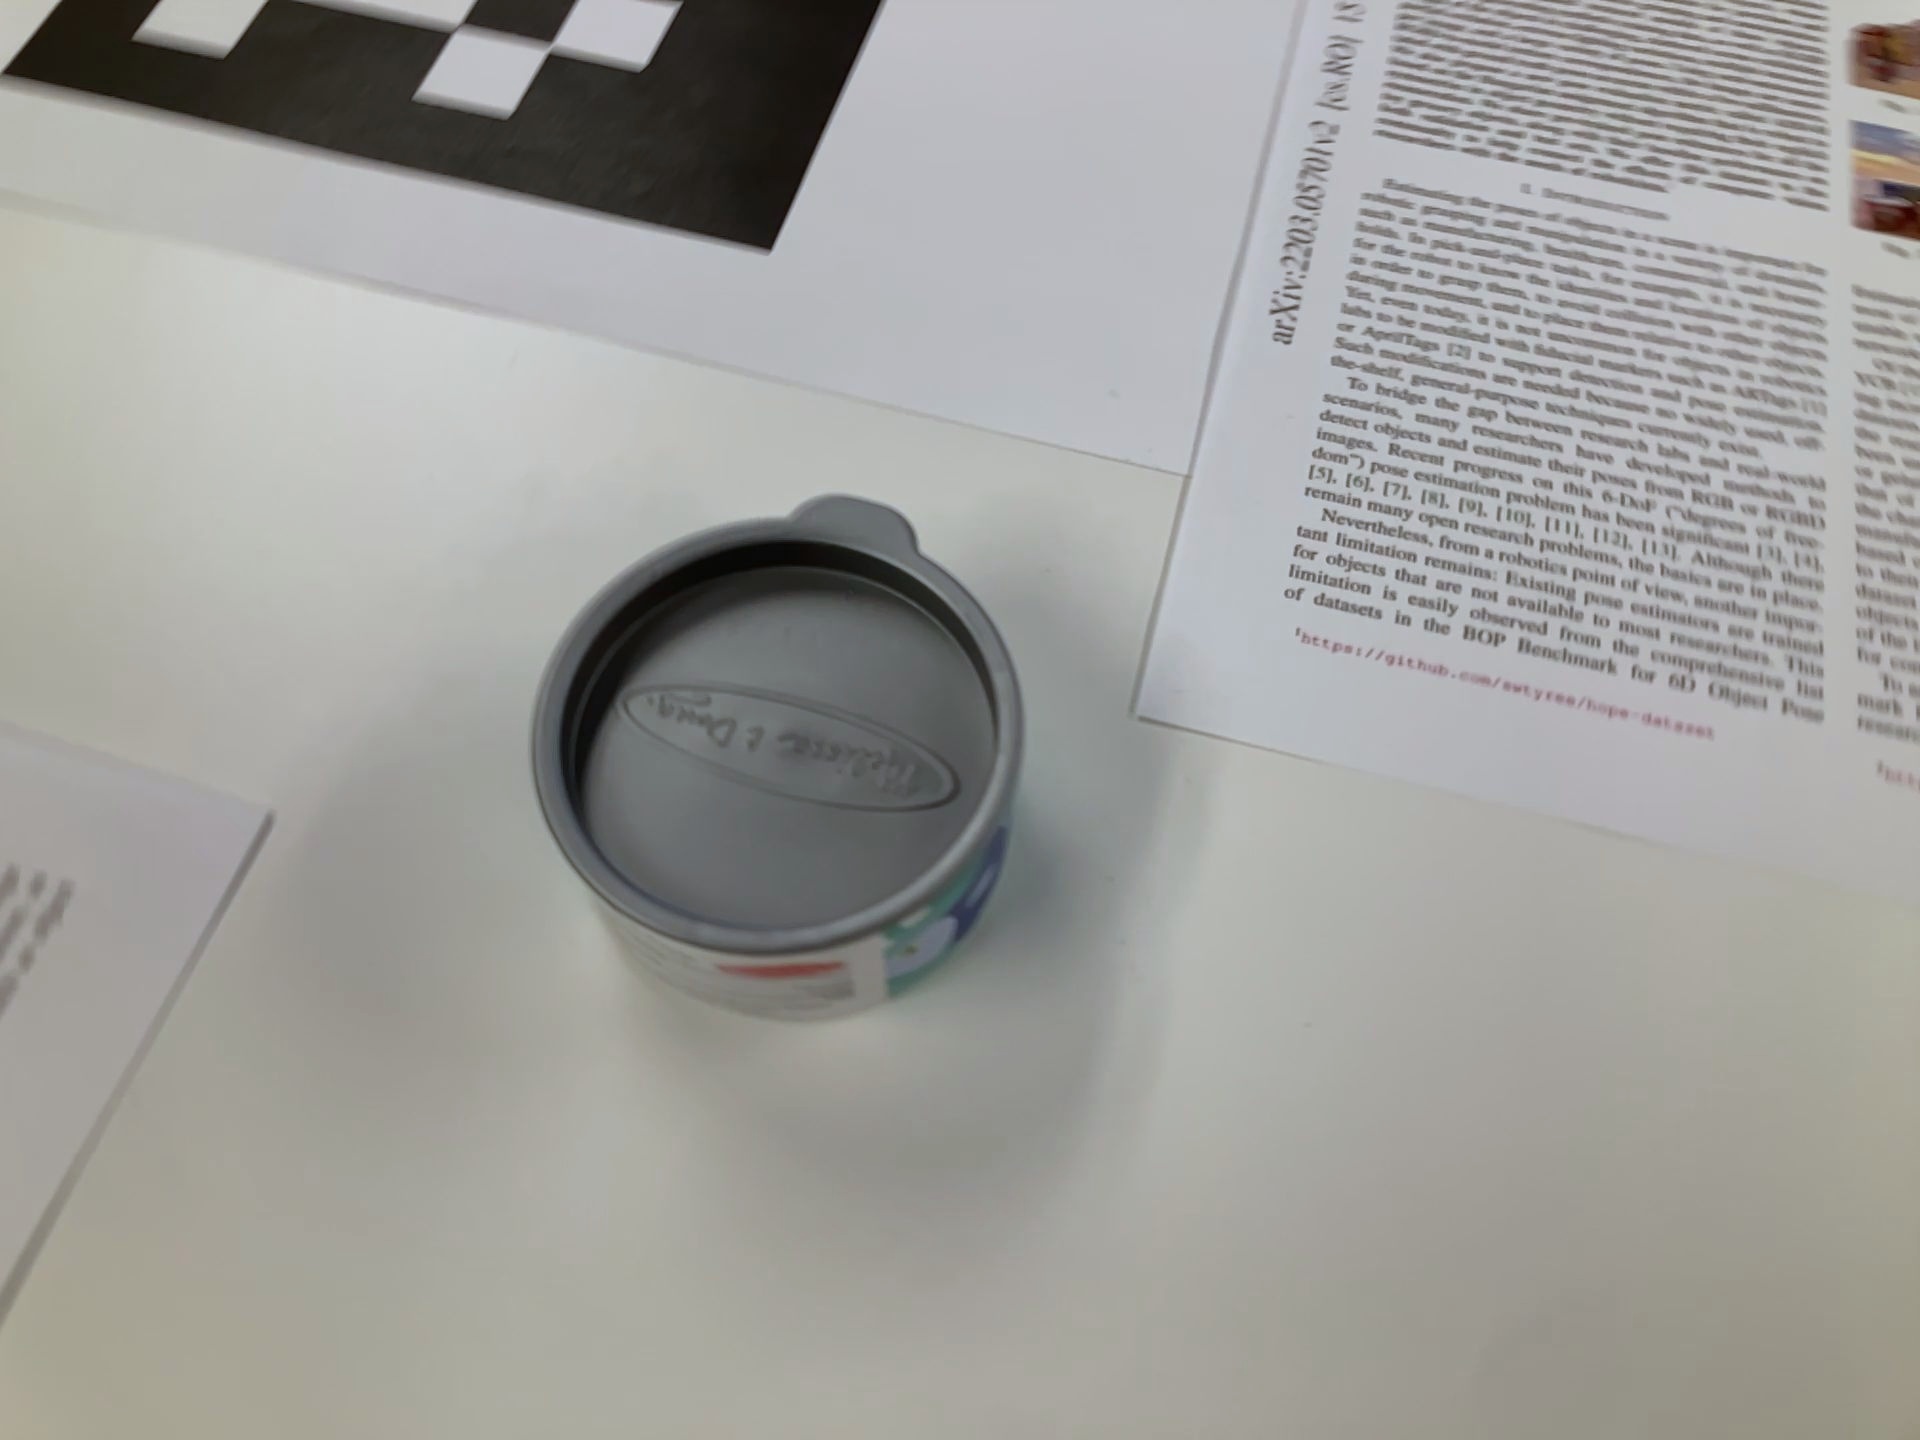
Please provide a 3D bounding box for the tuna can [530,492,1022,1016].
[{"bbox_3d":[-0.024,0.004,0.228,0.071,0.033,0.071,0,62,-1],"label":"tuna can"}]
